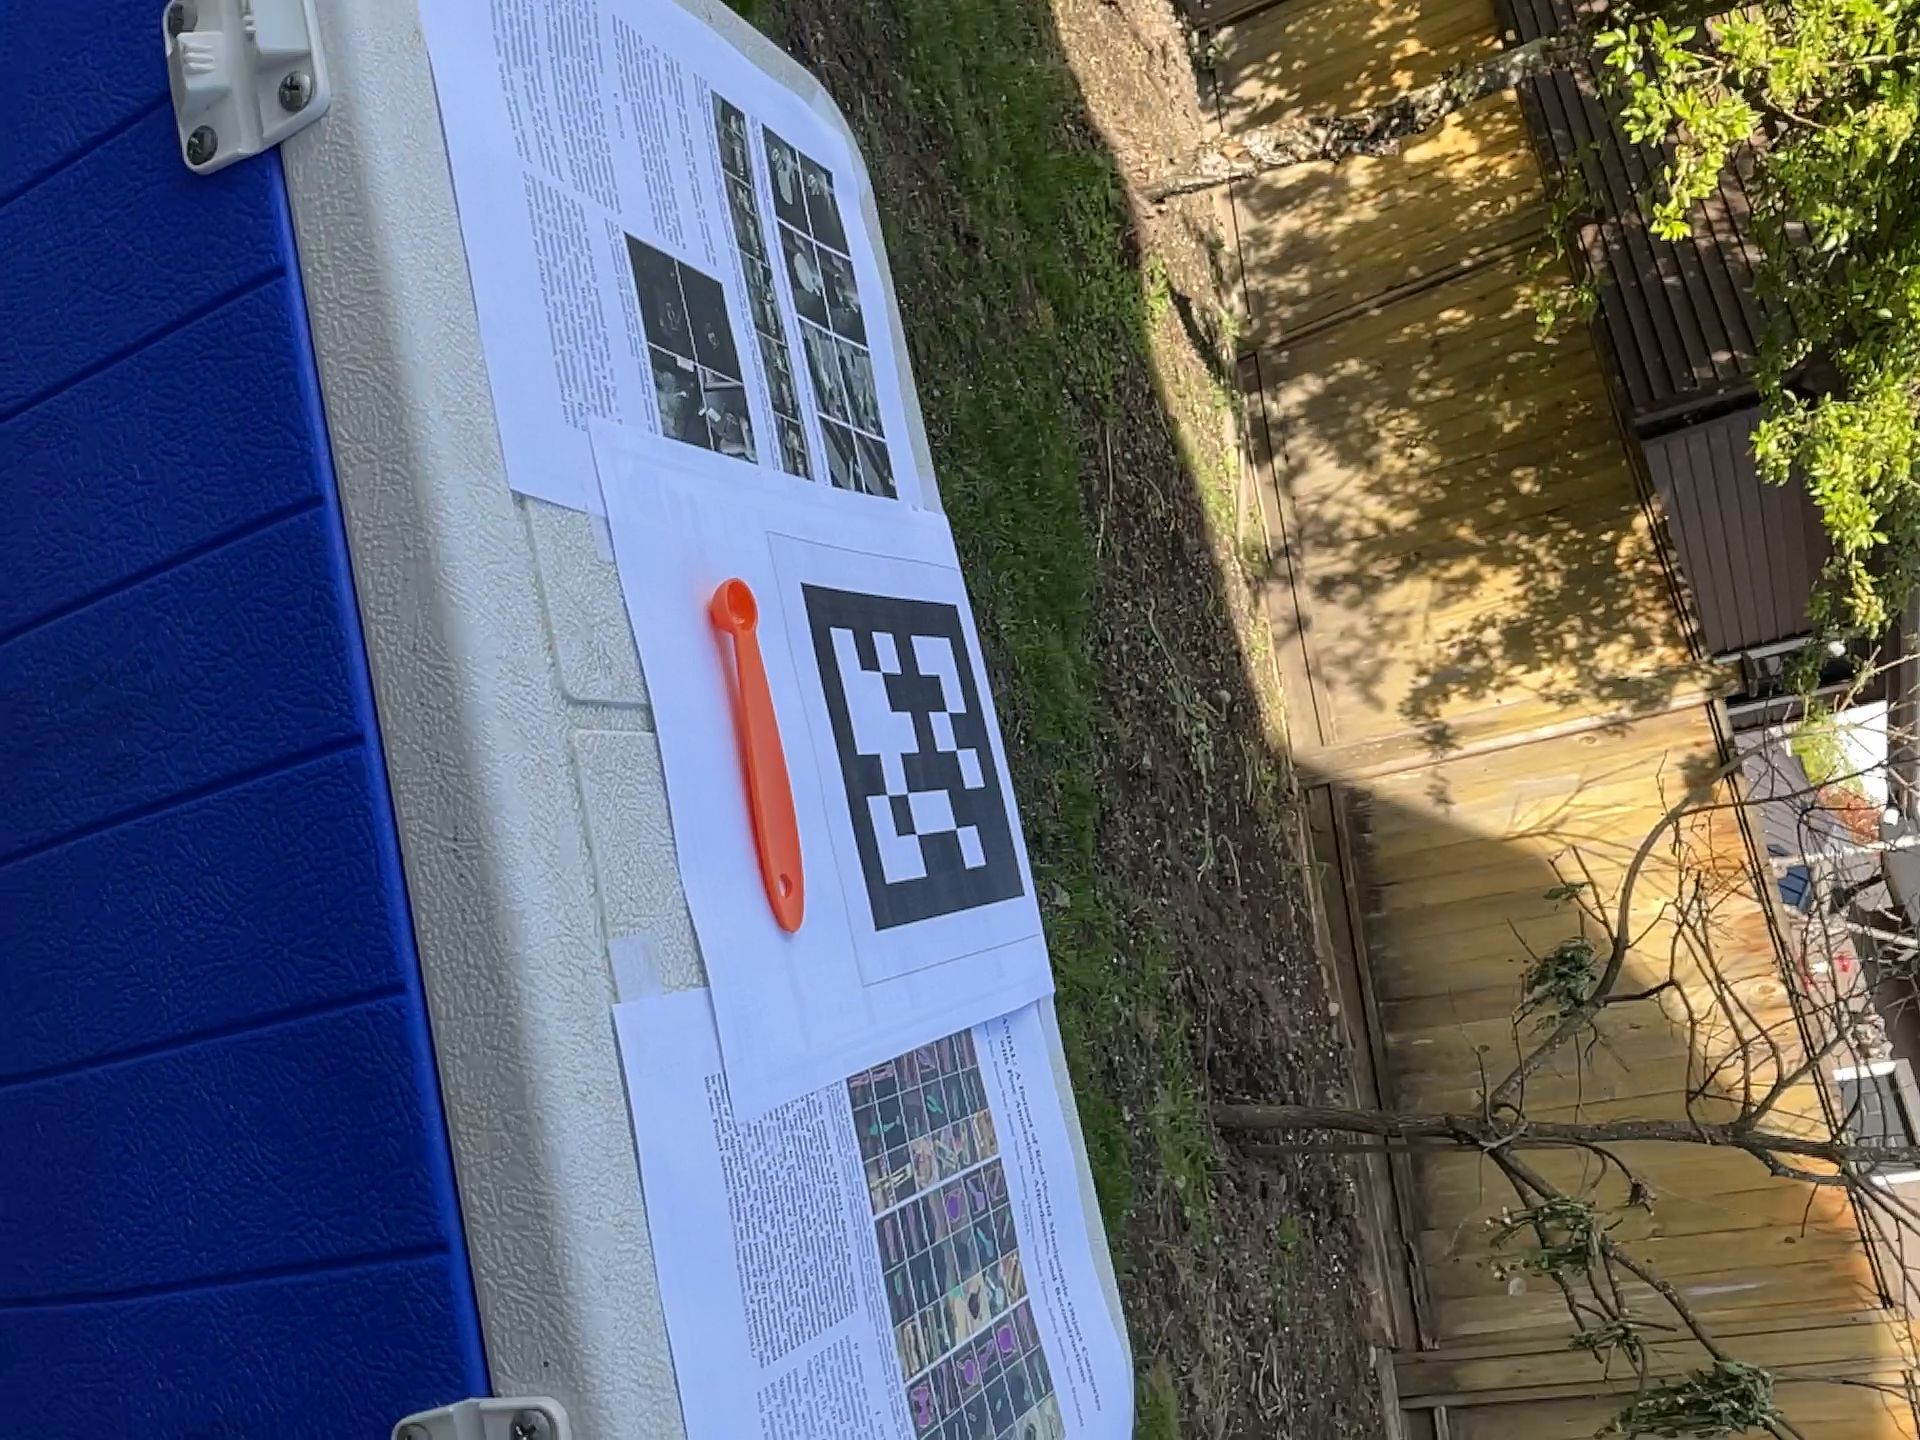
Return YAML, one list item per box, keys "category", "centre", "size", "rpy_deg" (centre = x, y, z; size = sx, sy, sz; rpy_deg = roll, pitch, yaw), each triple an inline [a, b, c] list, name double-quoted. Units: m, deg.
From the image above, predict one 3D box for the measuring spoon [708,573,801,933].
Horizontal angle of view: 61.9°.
- category: "measuring spoon"
  centre: [-0.067, 0.011, 0.514]
  size: [0.021, 0.011, 0.117]
  rpy_deg: [-1, 80, -66]
